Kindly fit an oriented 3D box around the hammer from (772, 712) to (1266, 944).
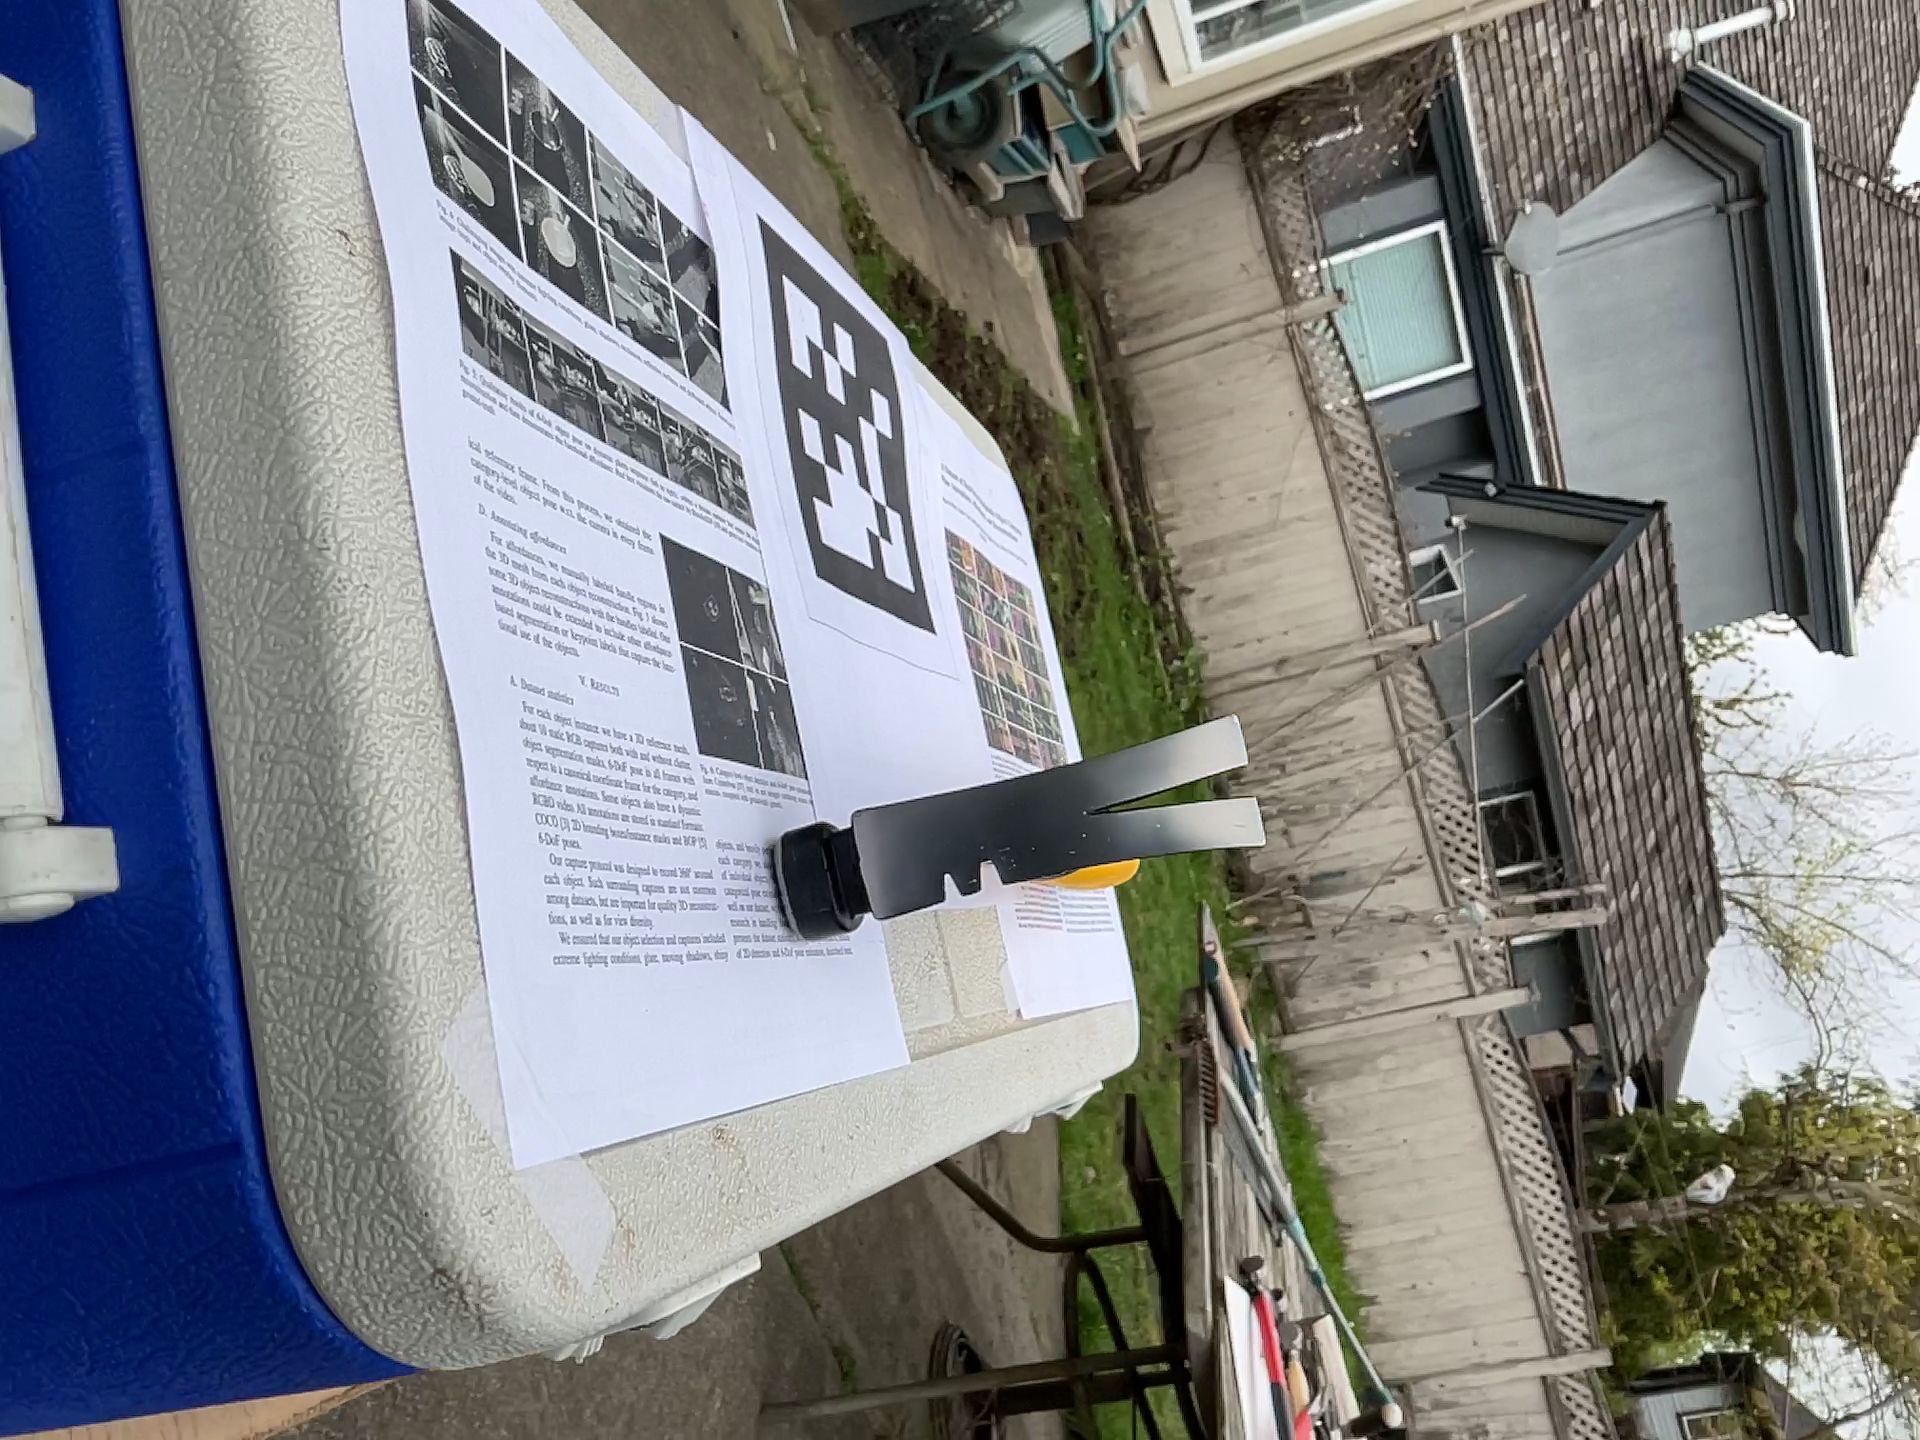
[{"bbox_3d":[0.042,0.044,0.569,0.336,0.127,0.034,28,48,-78],"label":"hammer"}]
